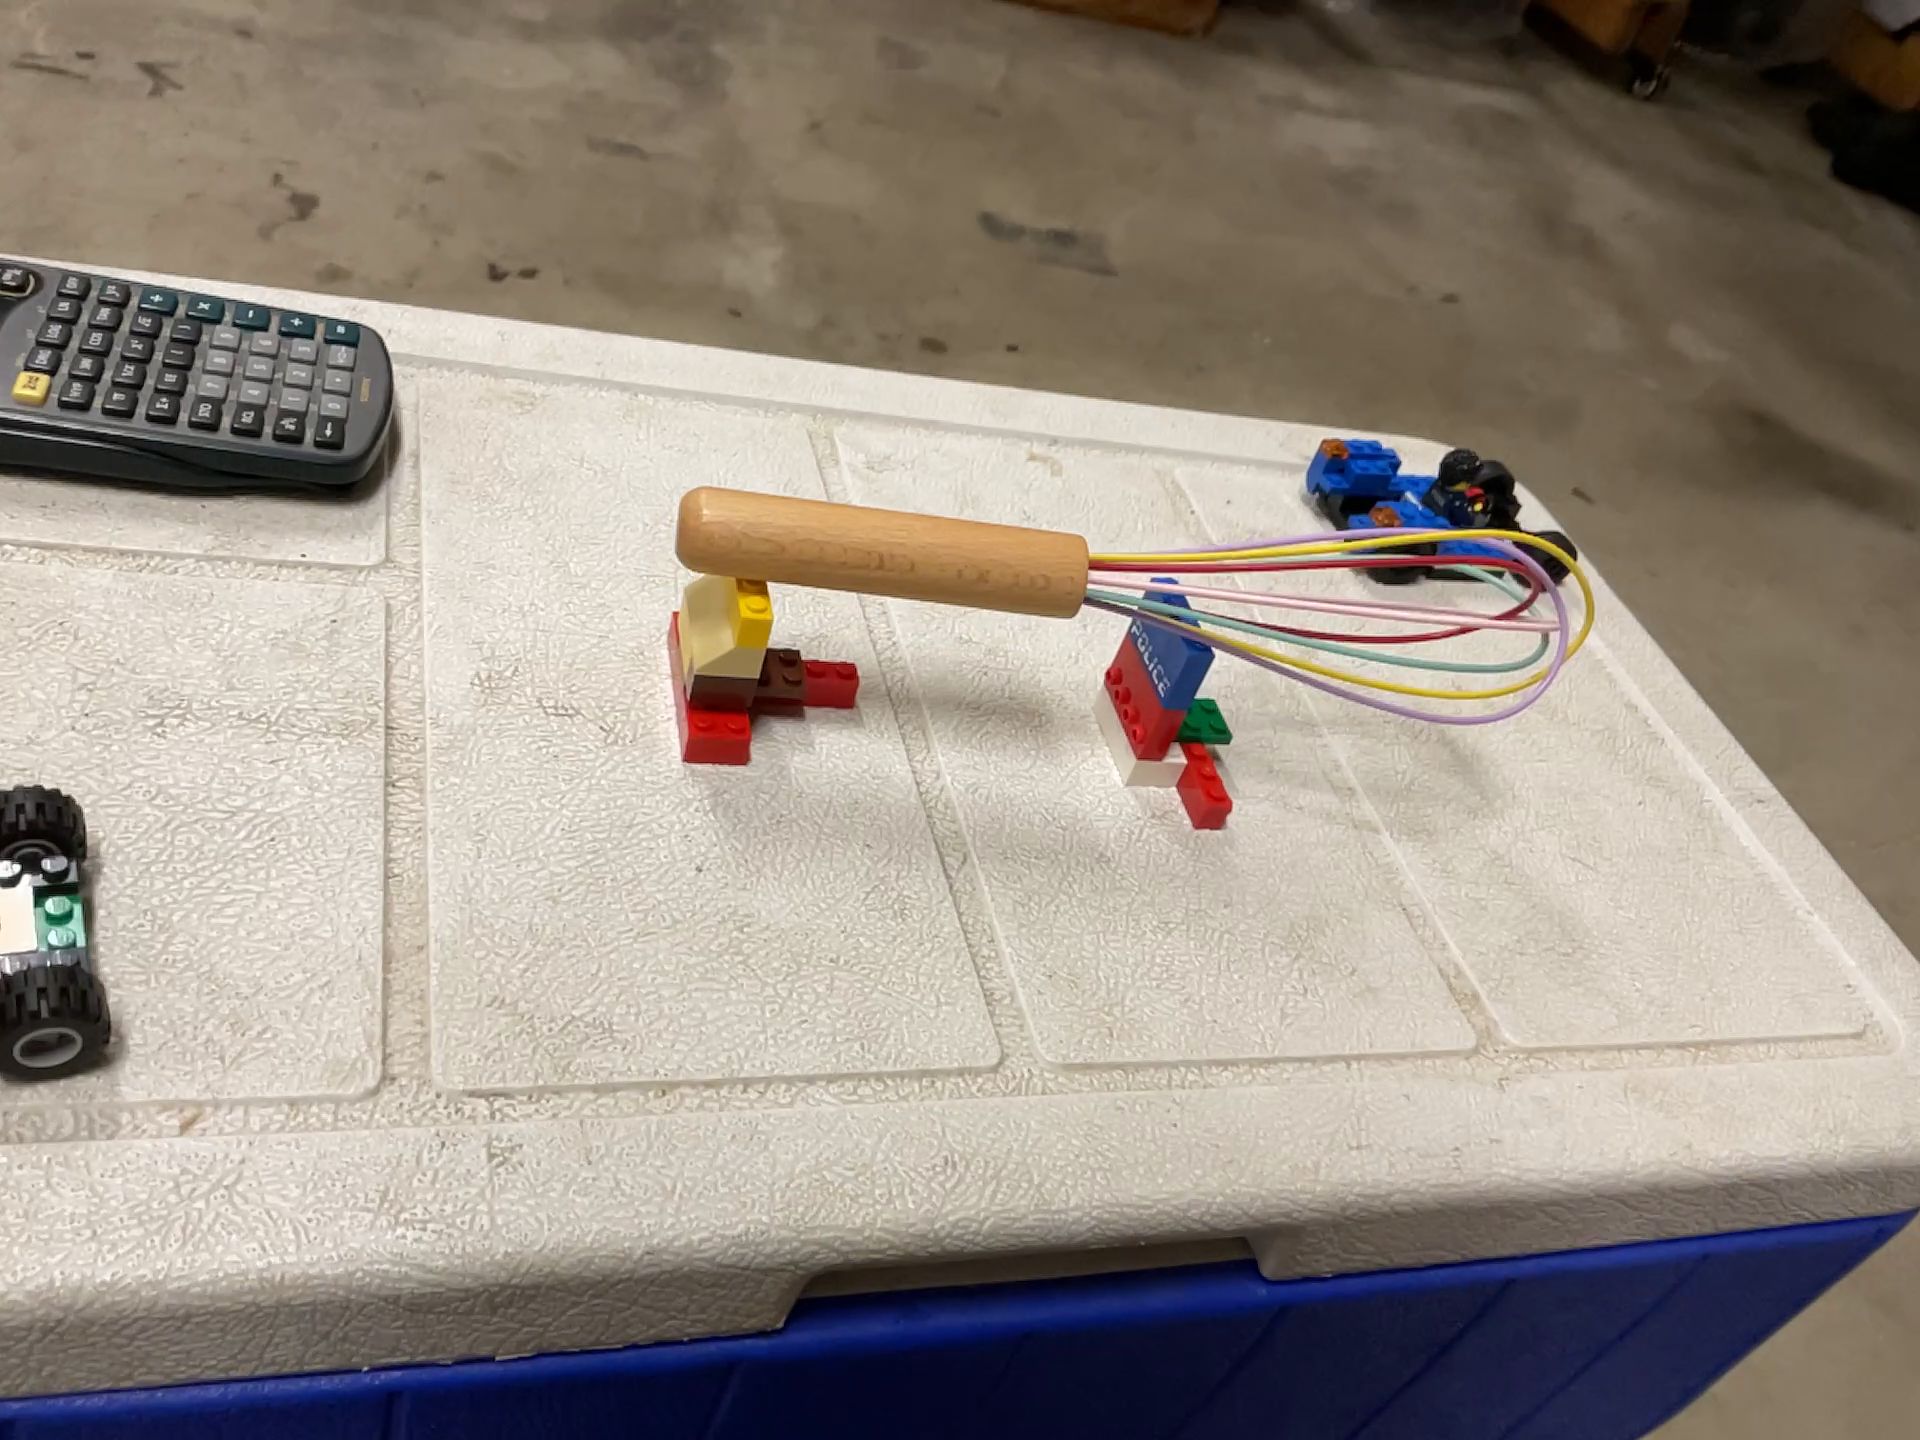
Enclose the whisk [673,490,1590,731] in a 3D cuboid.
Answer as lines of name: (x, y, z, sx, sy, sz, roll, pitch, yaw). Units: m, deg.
whisk: (0.051, -0.038, 0.407, 0.245, 0.047, 0.051, 5, 54, -14)
